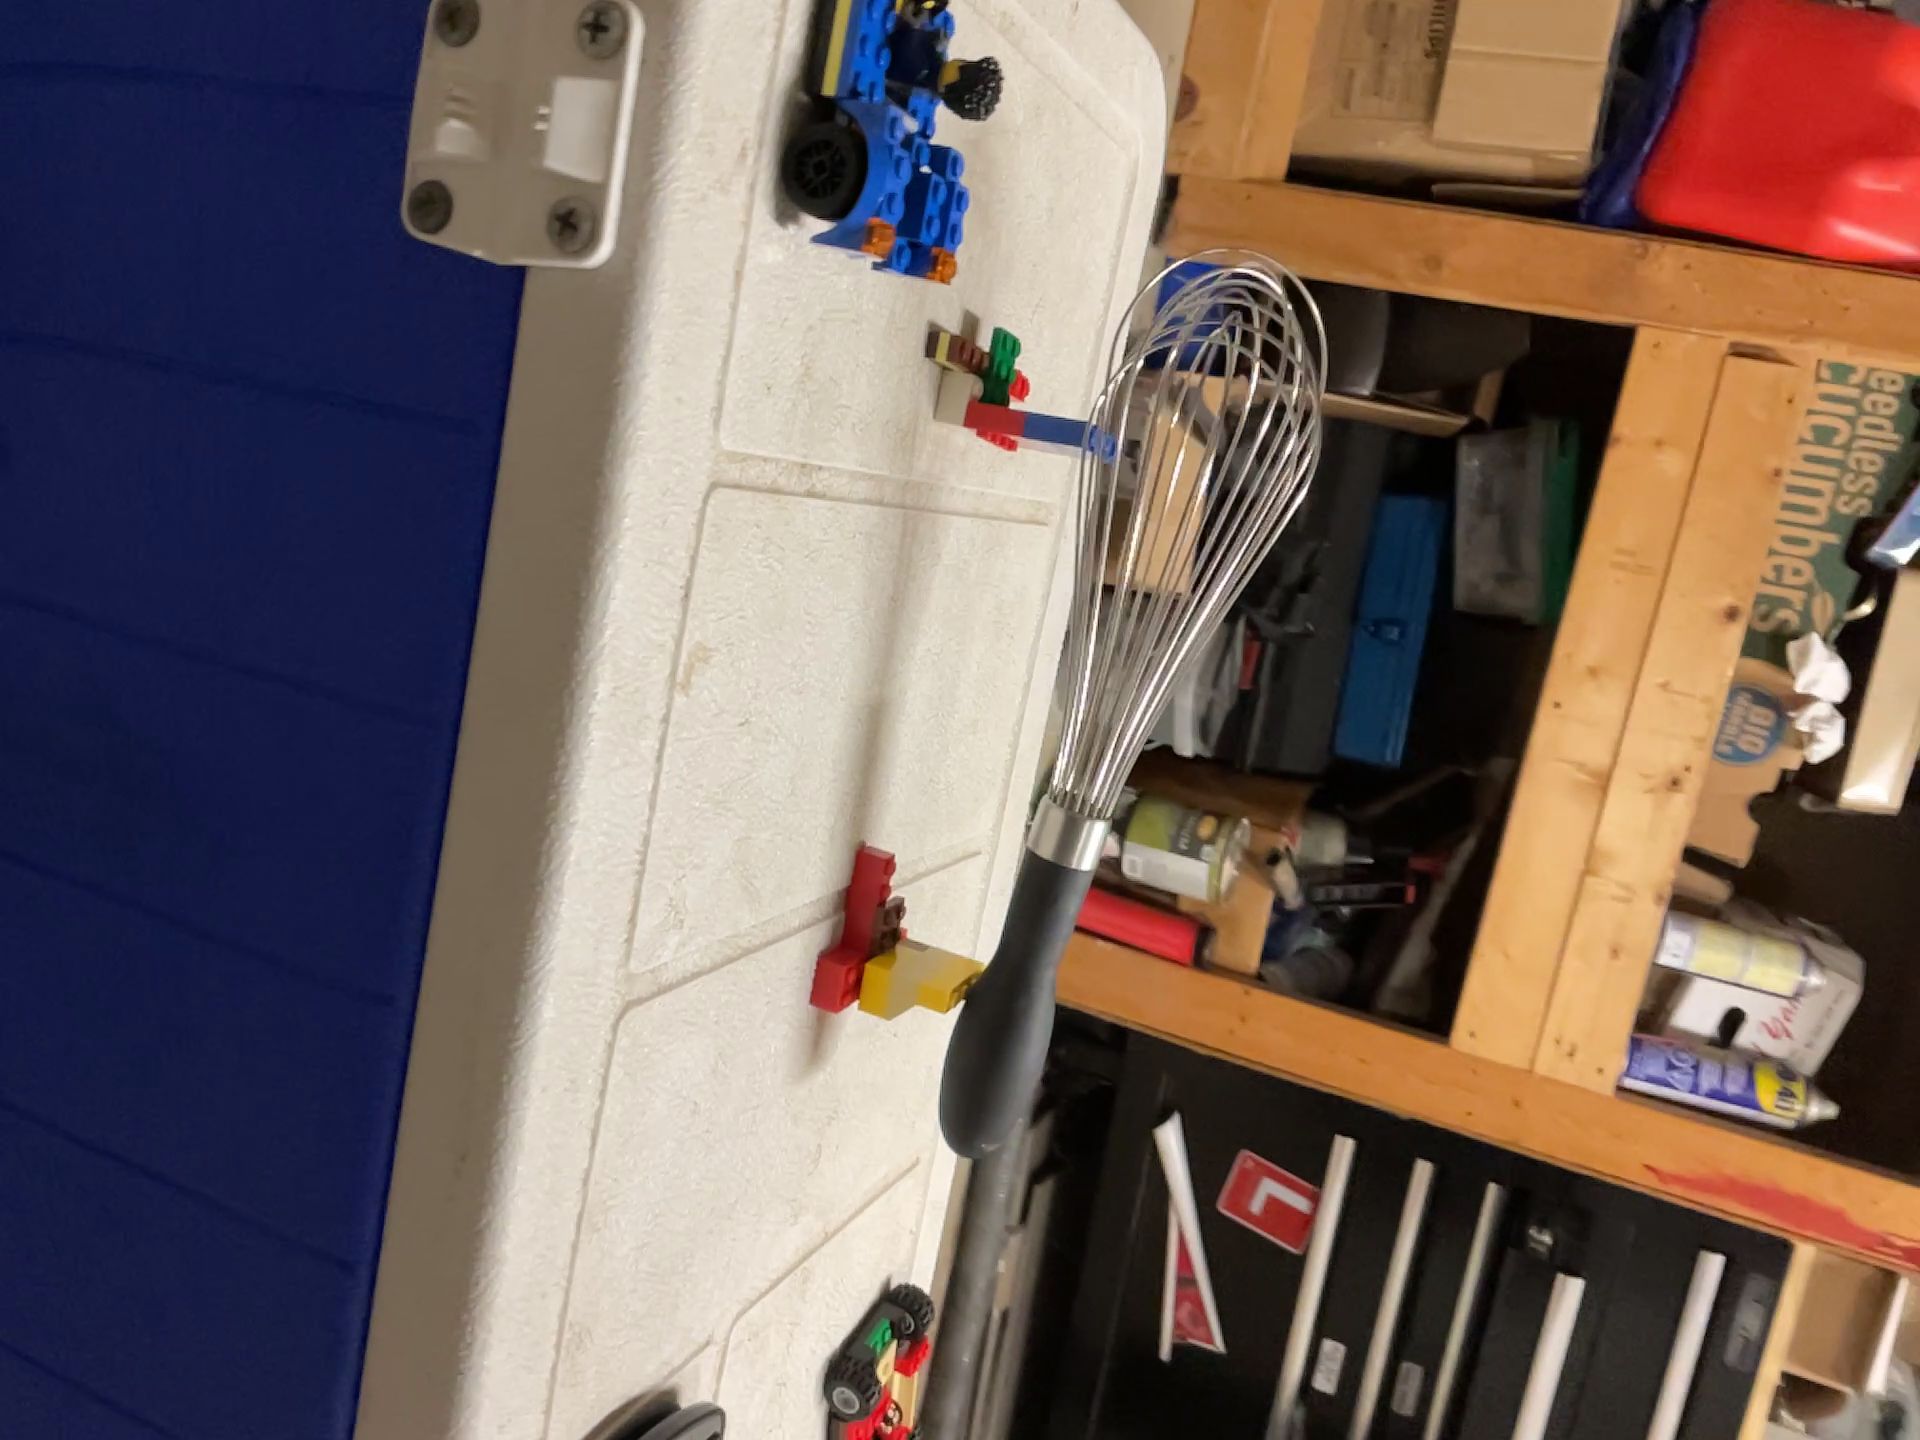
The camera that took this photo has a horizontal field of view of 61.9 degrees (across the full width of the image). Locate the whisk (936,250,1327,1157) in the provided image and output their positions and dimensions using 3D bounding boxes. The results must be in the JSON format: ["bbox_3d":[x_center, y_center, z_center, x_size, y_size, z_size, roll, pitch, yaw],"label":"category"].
[{"bbox_3d":[0.043,0.004,0.477,0.070,0.070,0.284,-23,131,-72],"label":"whisk"}]
